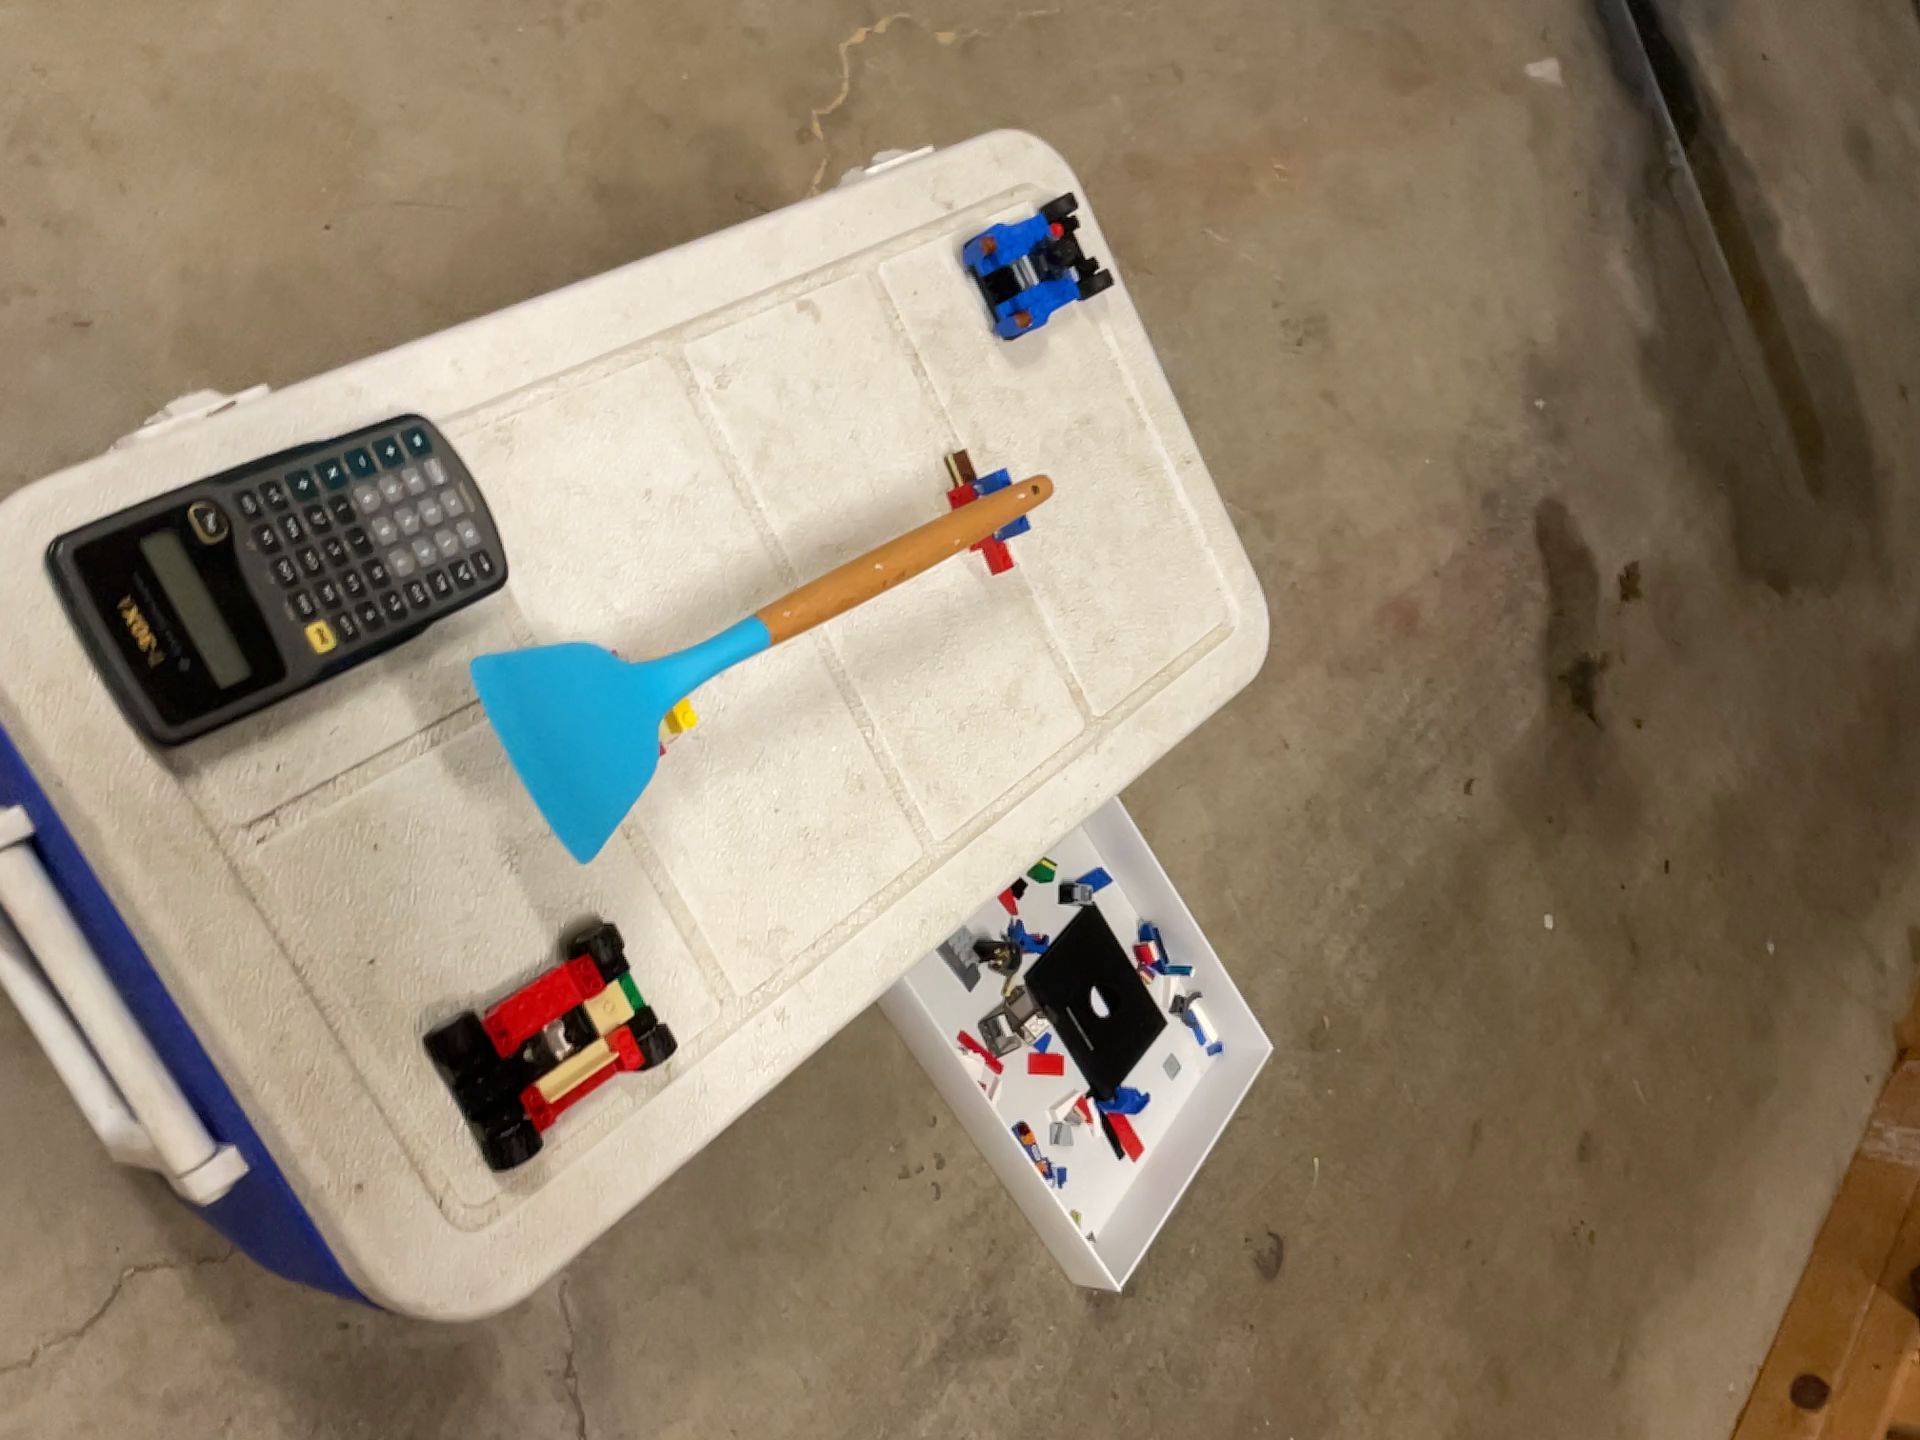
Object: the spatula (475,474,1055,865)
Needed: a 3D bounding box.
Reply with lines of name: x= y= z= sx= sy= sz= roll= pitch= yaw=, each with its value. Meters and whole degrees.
spatula: x=-0.056 y=-0.047 z=0.651 sx=0.318 sy=0.044 sz=0.082 roll=-33 pitch=100 yaw=-39
